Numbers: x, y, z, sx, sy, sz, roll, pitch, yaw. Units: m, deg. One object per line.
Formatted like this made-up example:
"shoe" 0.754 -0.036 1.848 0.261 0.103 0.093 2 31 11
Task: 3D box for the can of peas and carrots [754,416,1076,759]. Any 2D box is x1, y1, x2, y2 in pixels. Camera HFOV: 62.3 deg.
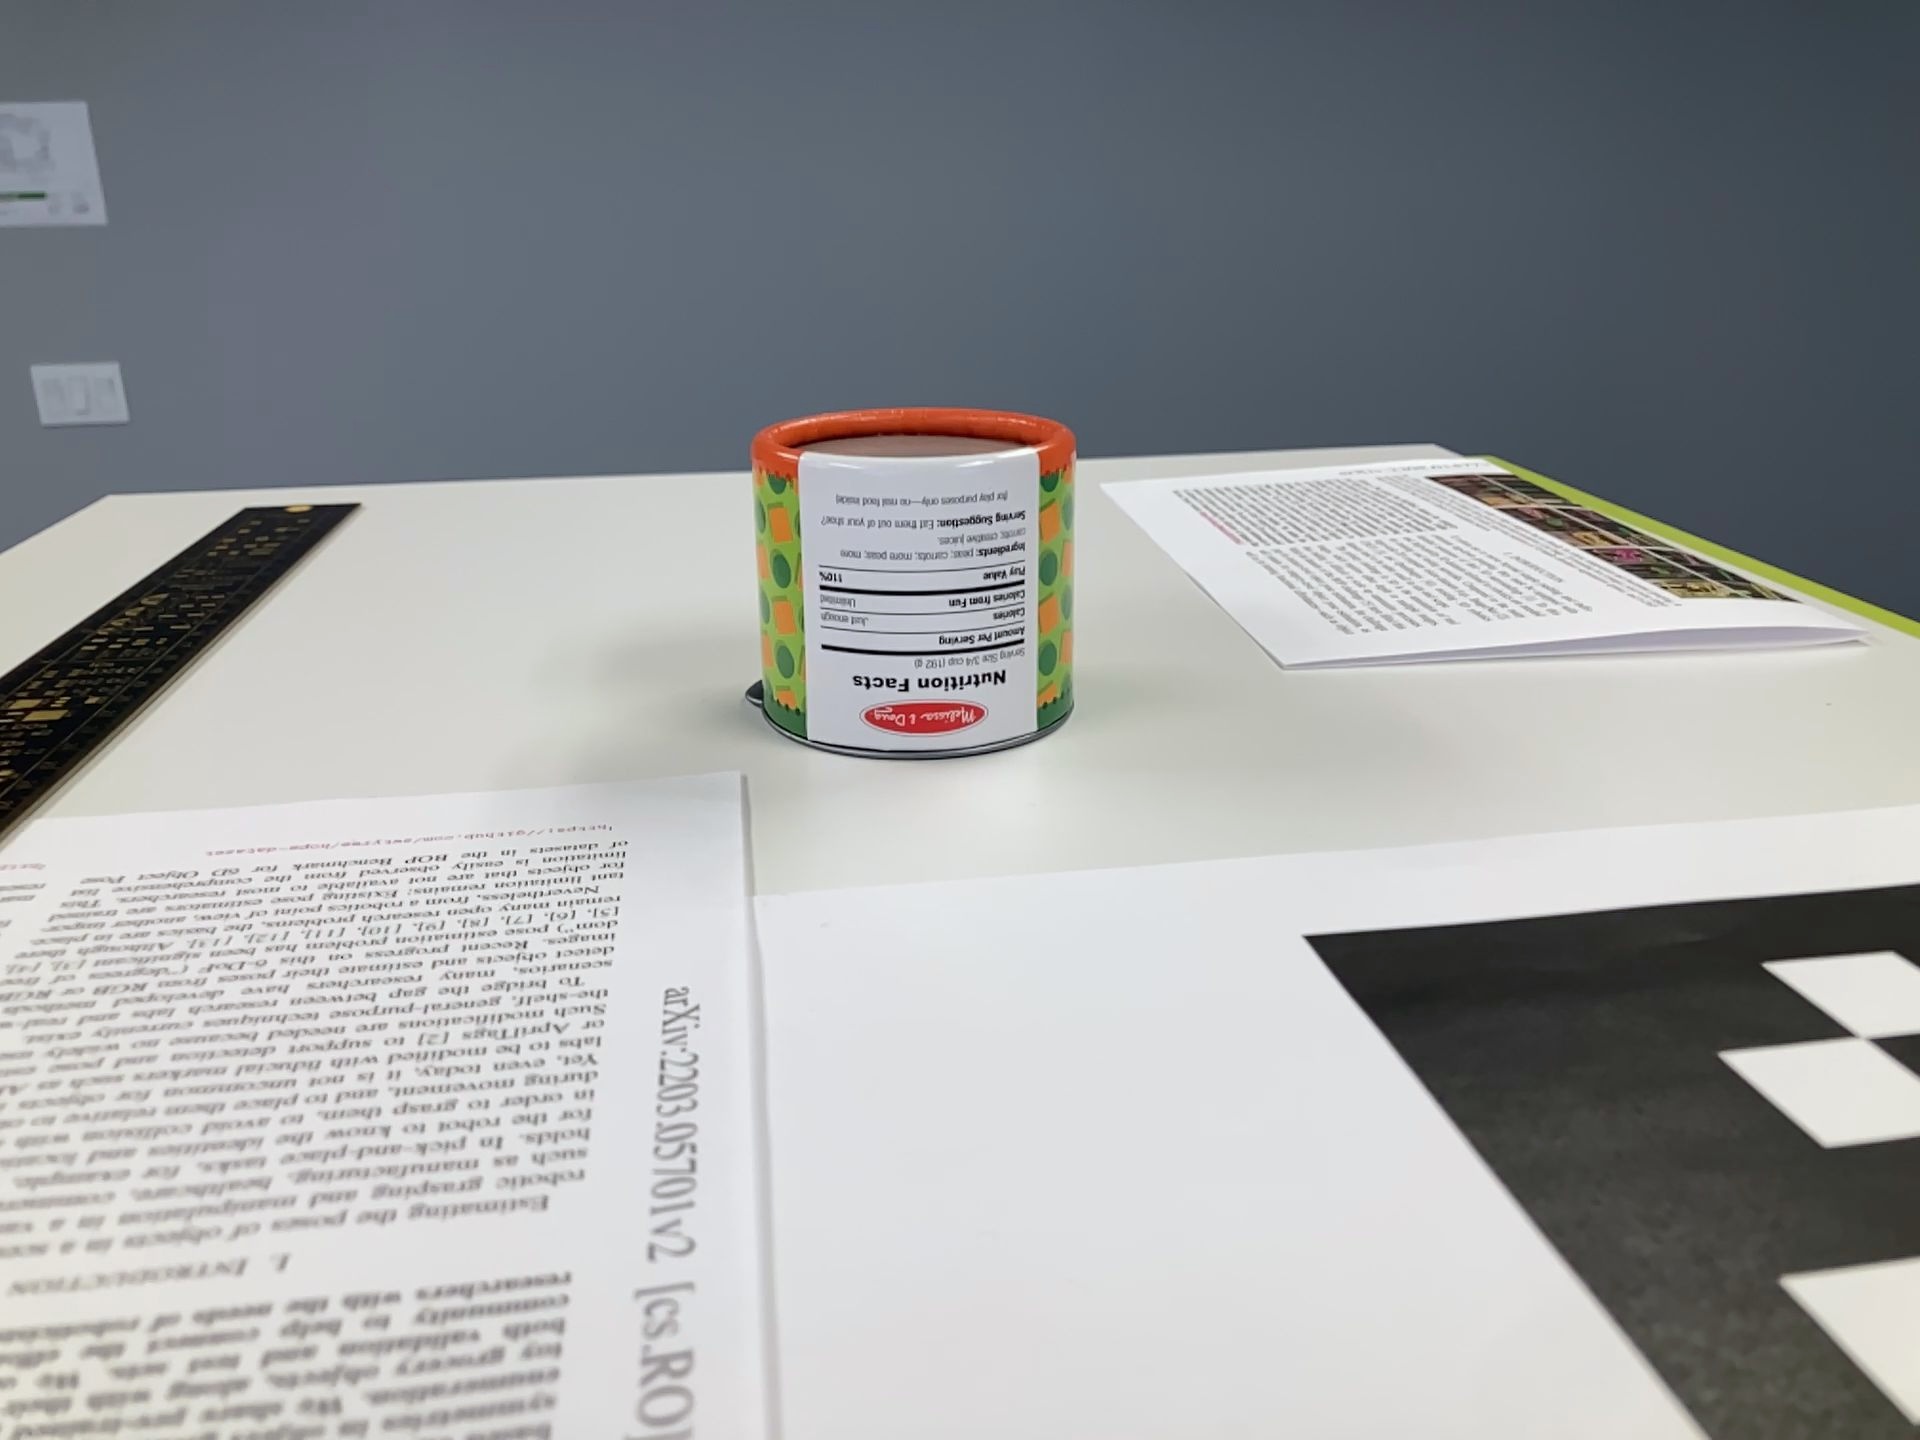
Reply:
"can of peas and carrots" -0.010 -0.031 0.332 0.071 0.059 0.071 0 19 0
